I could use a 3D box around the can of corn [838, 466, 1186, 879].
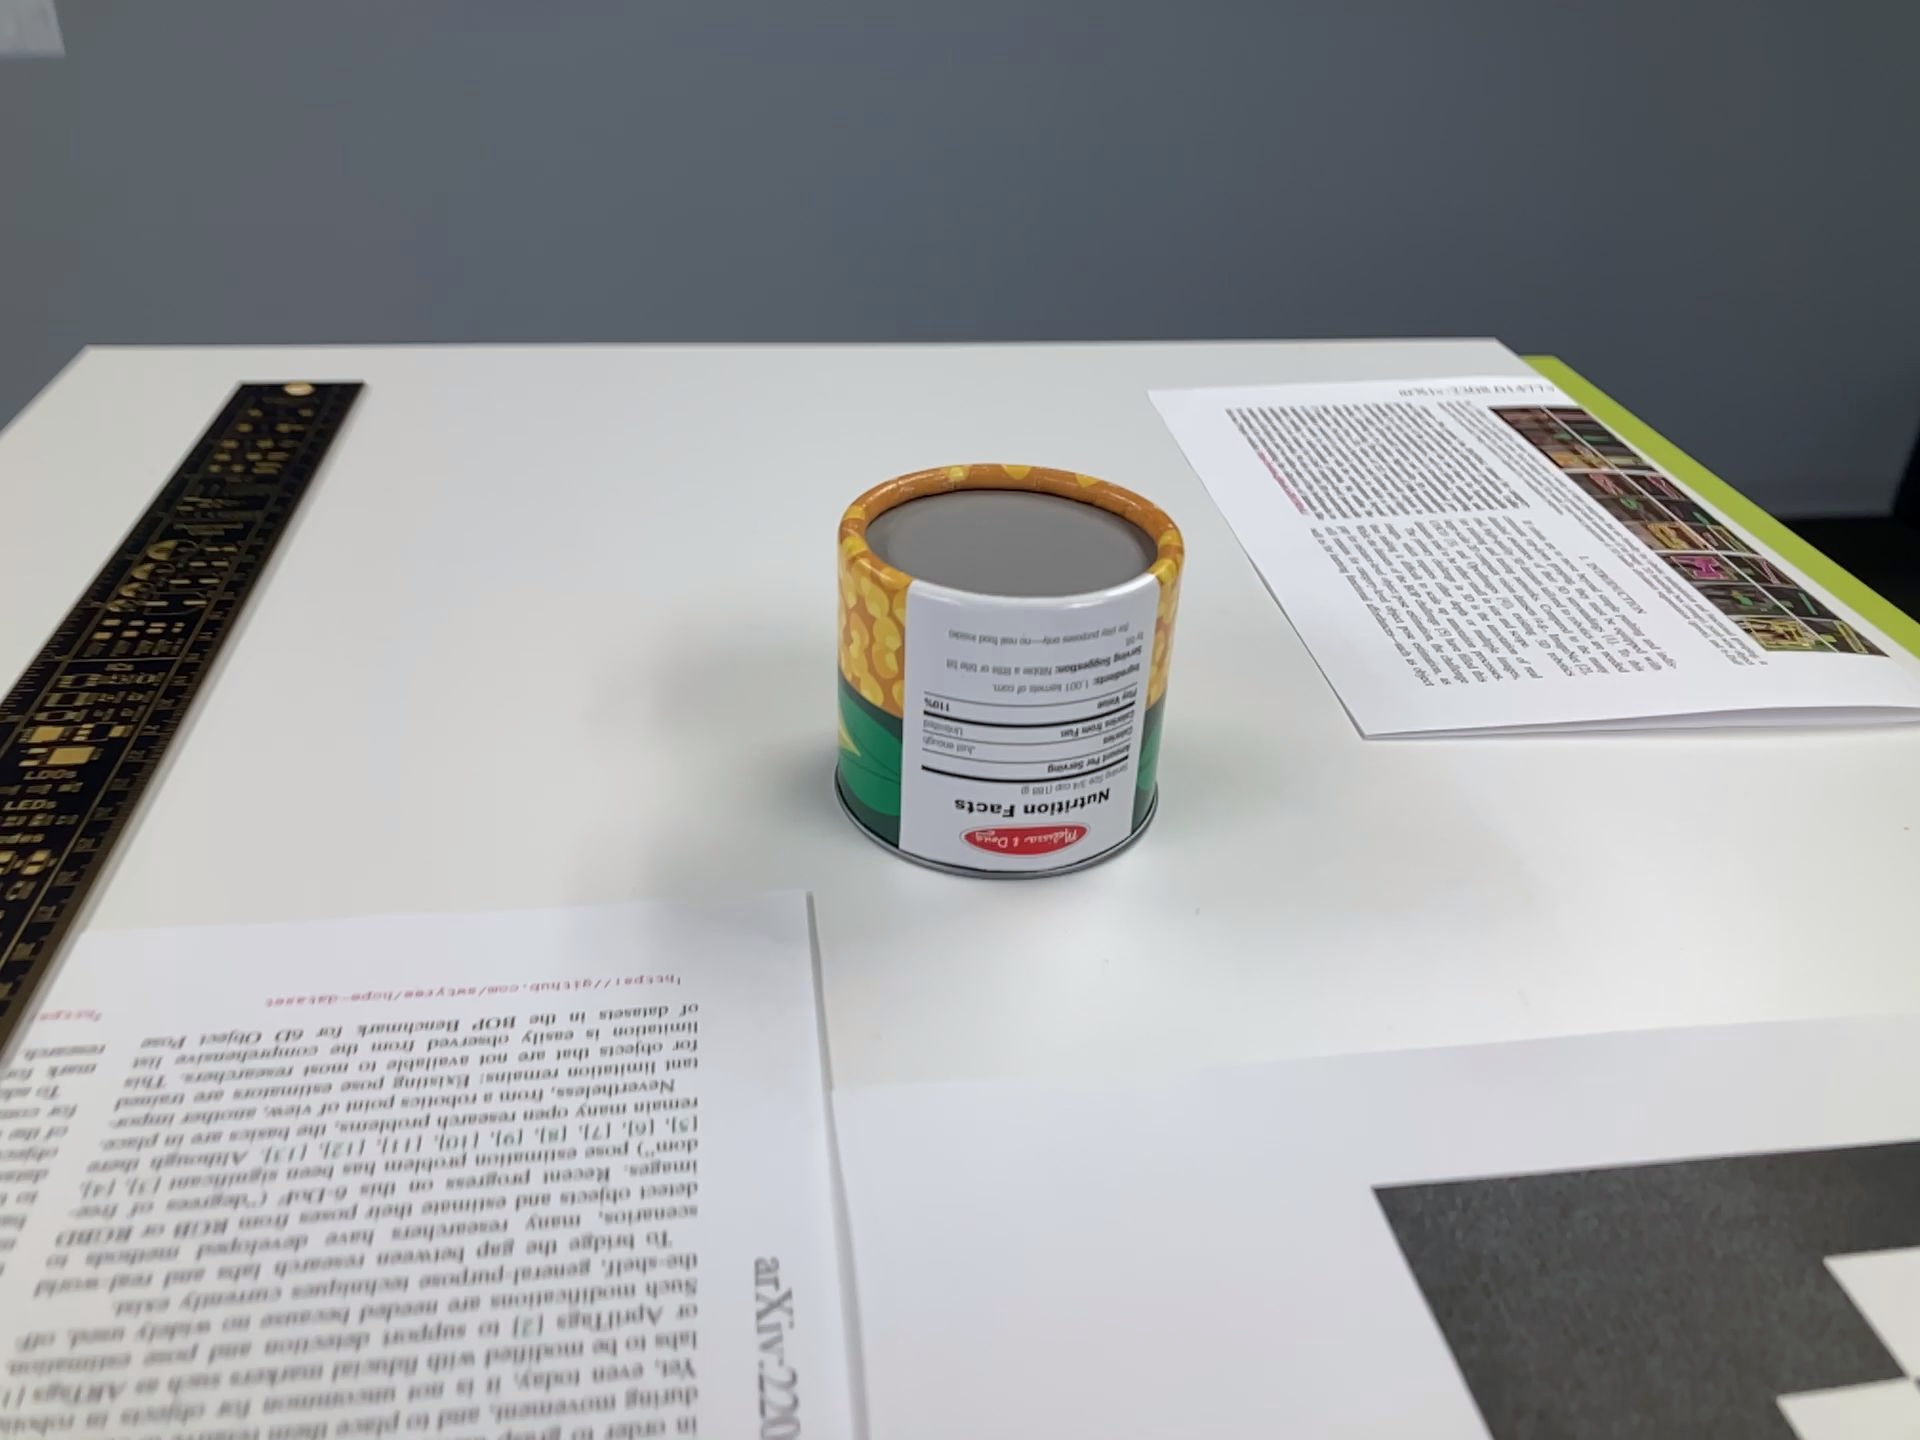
[{"bbox_3d":[0.008,-0.013,0.315,0.071,0.058,0.071,2,31,-1],"label":"can of corn"}]
